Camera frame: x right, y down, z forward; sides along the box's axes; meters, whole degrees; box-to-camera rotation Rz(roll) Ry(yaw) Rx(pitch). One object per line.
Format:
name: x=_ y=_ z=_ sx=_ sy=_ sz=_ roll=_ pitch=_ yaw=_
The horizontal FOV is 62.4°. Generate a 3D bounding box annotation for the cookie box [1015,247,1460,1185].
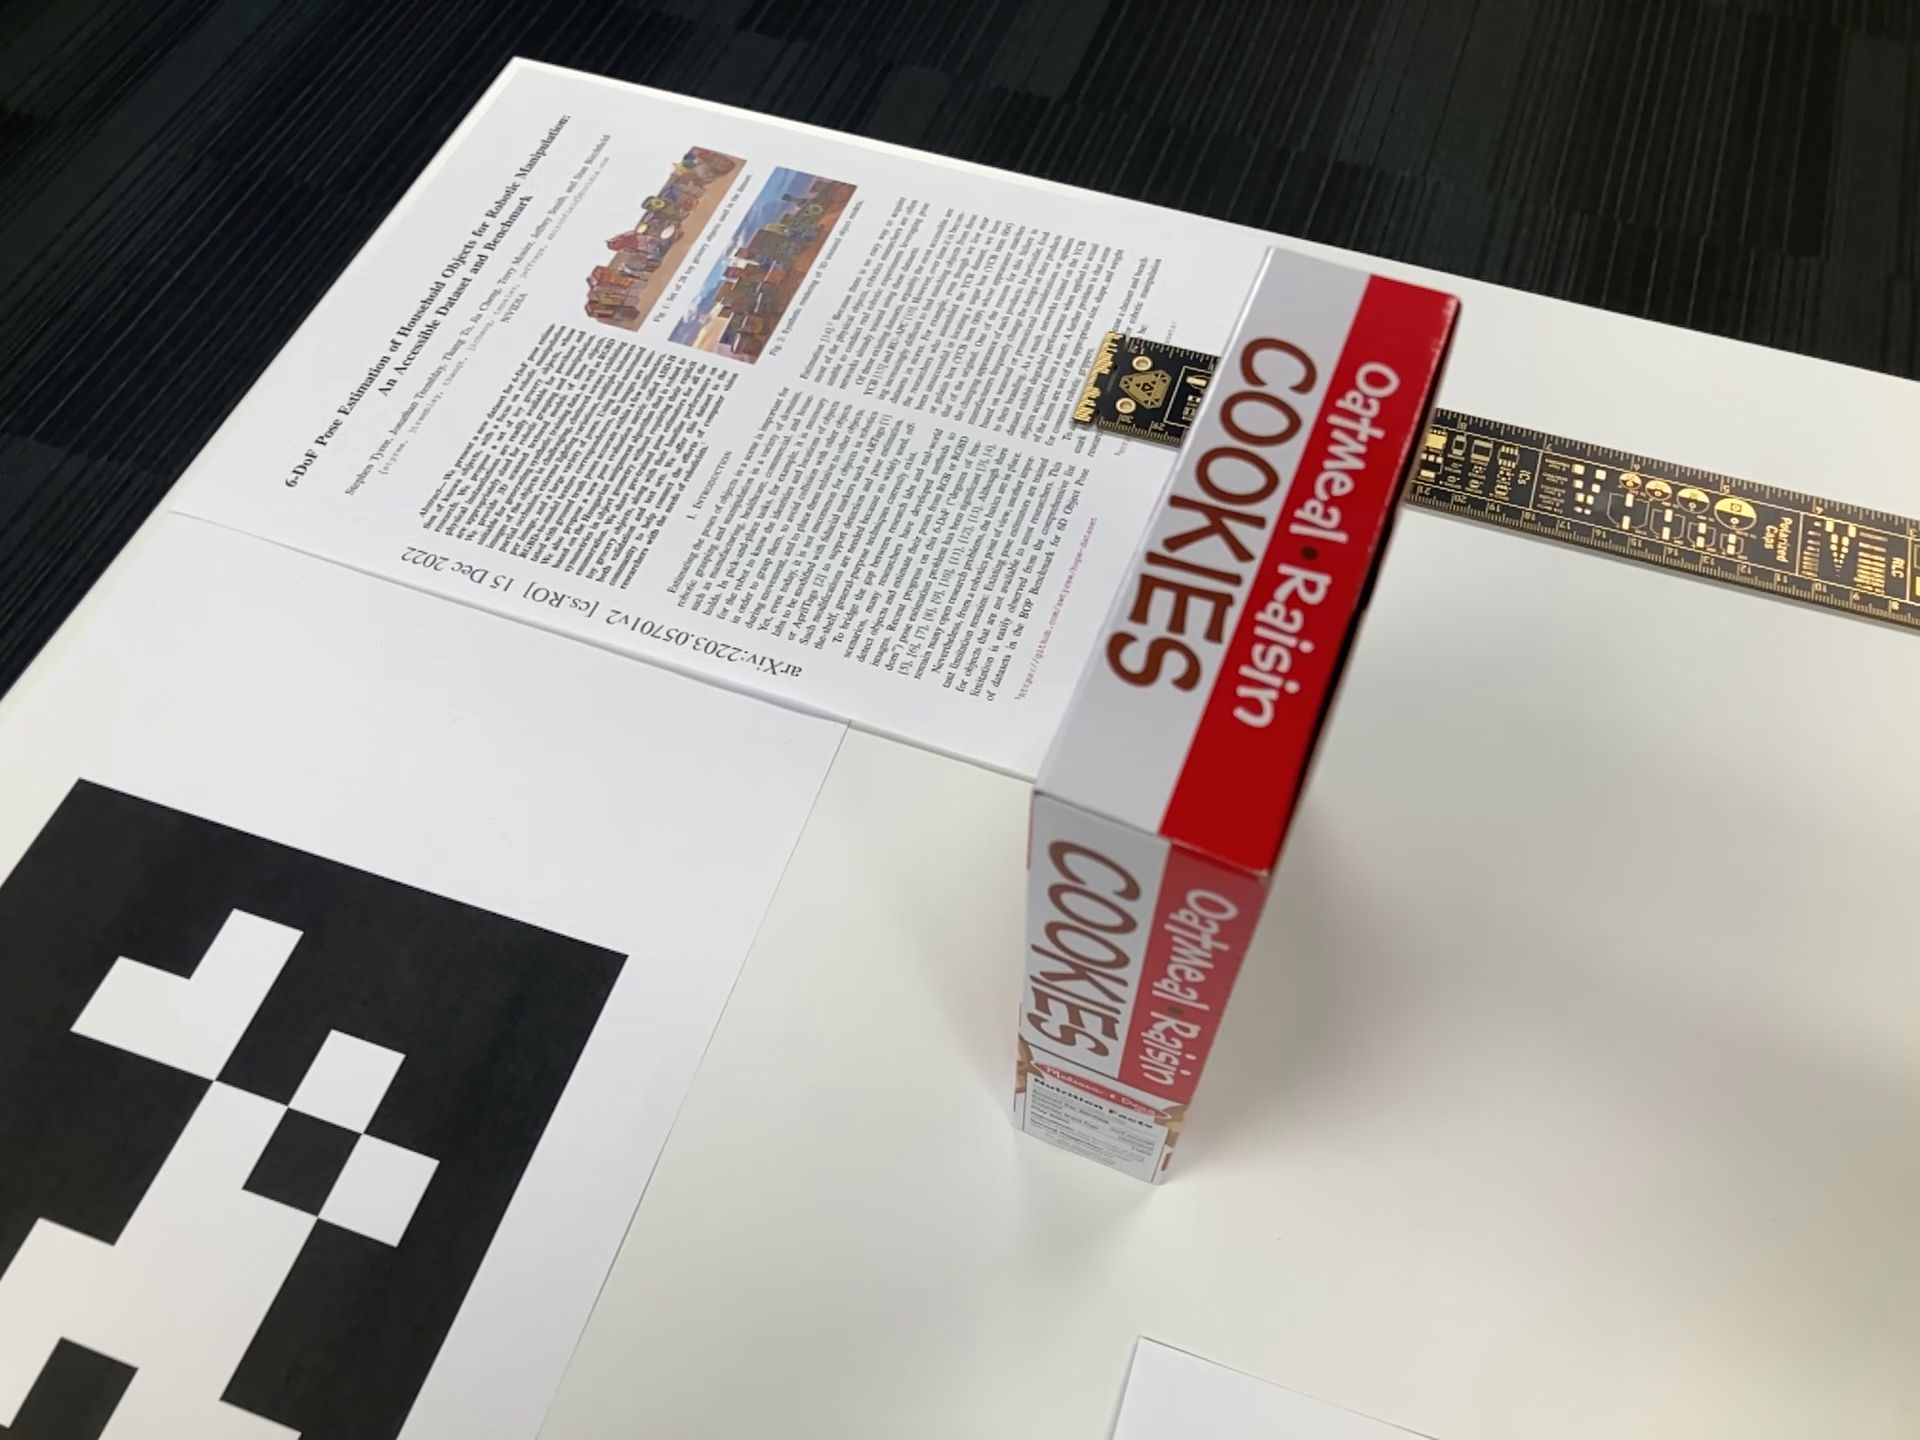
cookie box: x=0.051 y=0.010 z=0.323 sx=0.040 sy=0.167 sz=0.123 roll=18 pitch=61 yaw=11
